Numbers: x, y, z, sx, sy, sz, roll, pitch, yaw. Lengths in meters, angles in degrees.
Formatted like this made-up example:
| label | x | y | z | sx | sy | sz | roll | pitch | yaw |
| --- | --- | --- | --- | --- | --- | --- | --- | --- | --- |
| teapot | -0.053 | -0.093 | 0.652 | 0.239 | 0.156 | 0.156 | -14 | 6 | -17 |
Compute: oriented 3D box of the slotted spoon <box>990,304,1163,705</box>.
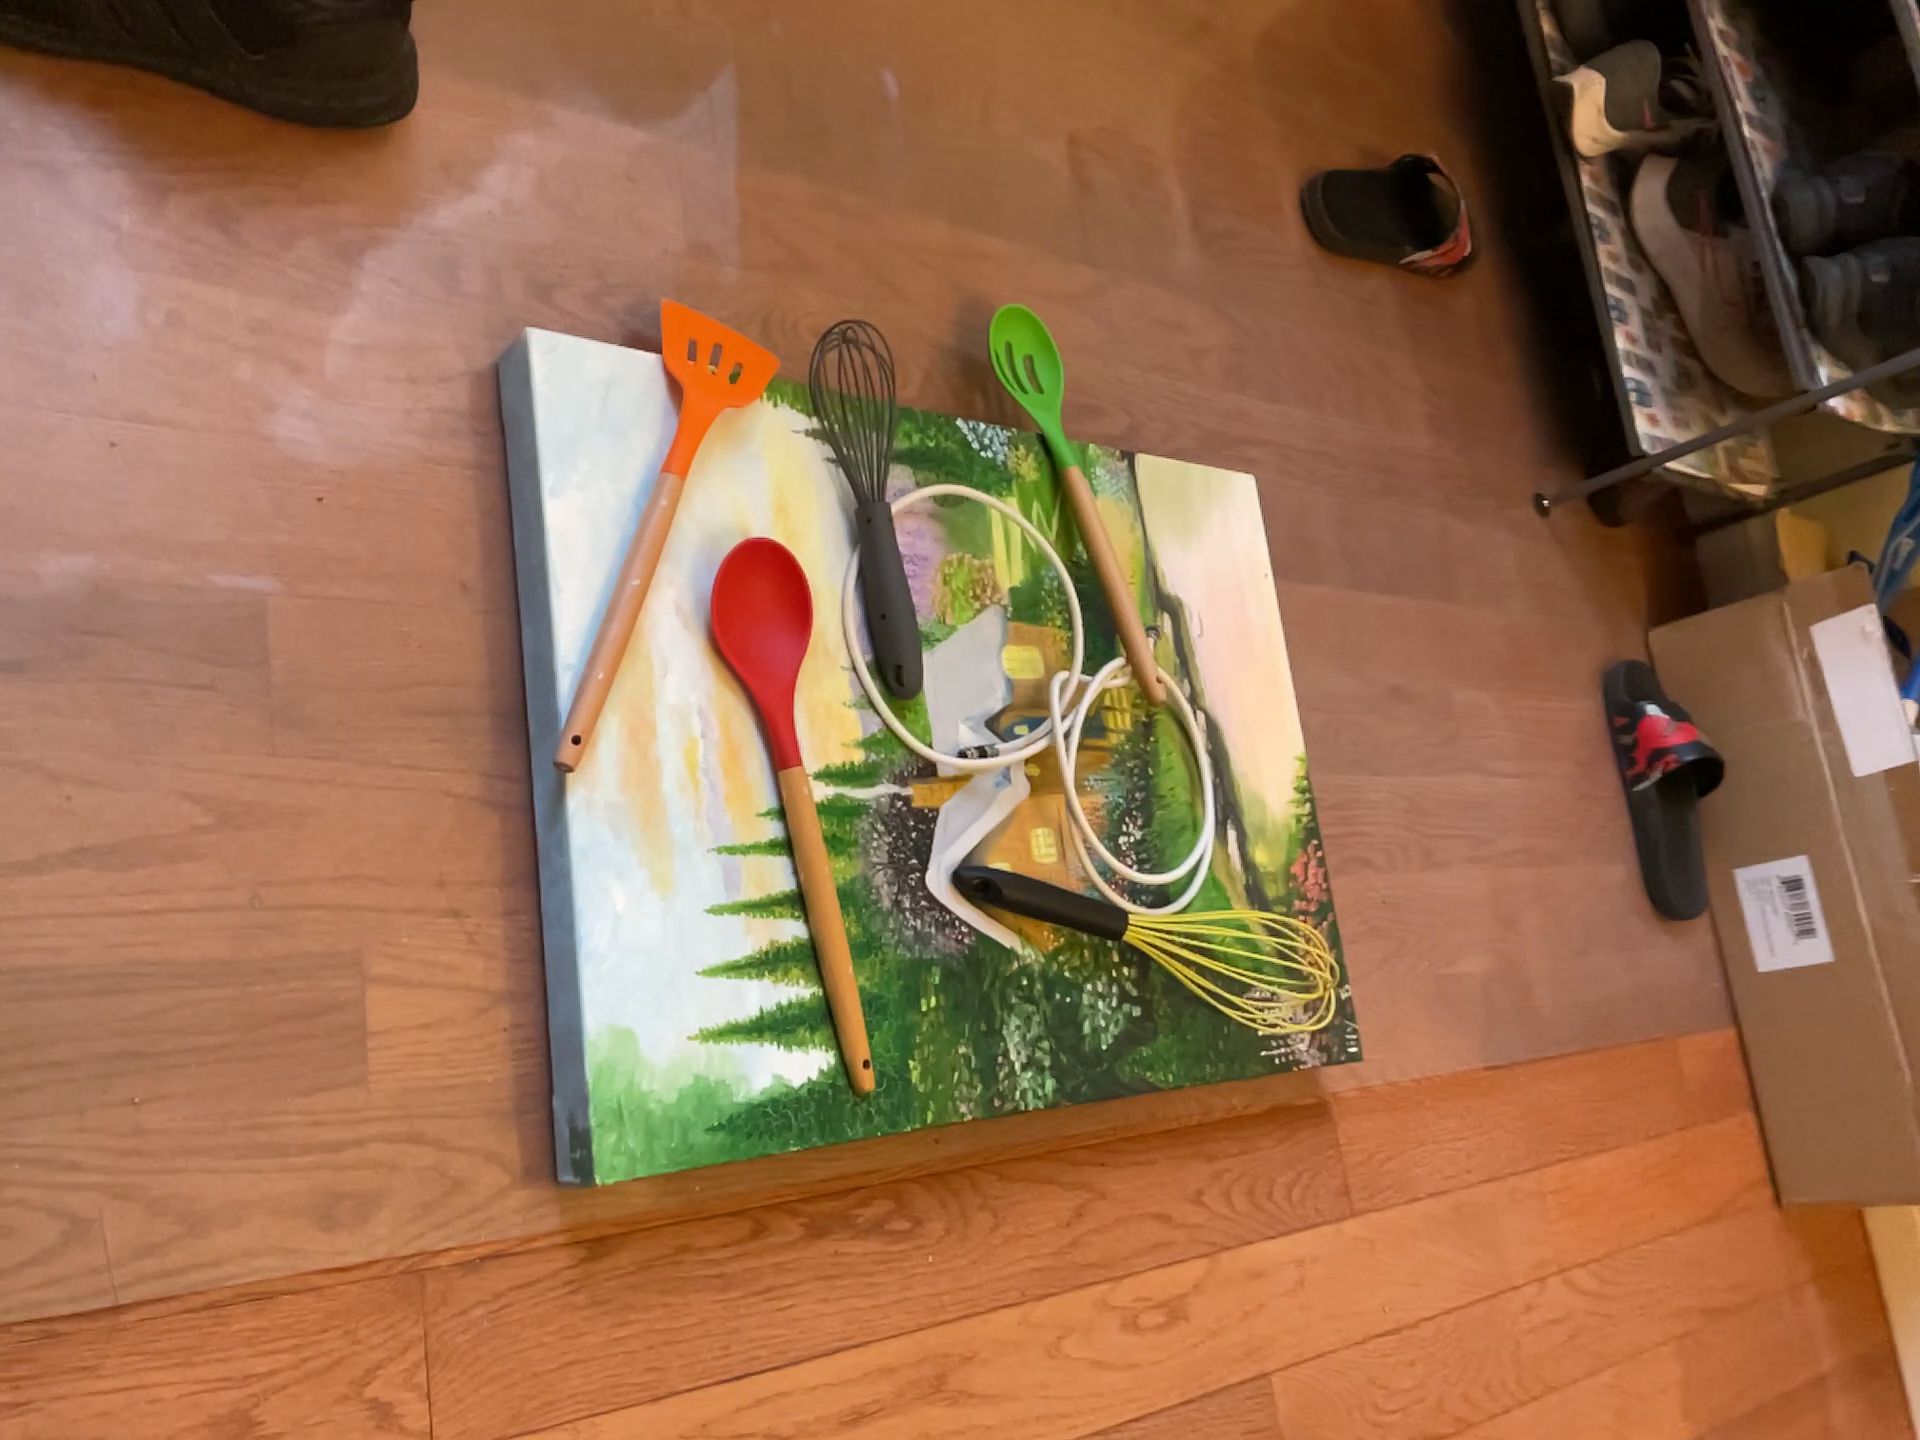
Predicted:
| label | x | y | z | sx | sy | sz | roll | pitch | yaw |
| --- | --- | --- | --- | --- | --- | --- | --- | --- | --- |
| slotted spoon | 0.082 | -0.152 | 1.103 | 0.070 | 0.031 | 0.314 | 0 | 64 | -41 |

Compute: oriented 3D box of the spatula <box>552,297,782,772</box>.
| label | x | y | z | sx | sy | sz | roll | pitch | yaw |
| --- | --- | --- | --- | --- | --- | --- | --- | --- | --- |
| spatula | -0.172 | -0.113 | 0.897 | 0.081 | 0.041 | 0.323 | 25 | 62 | -19 |

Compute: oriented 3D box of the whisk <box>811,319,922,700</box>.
| label | x | y | z | sx | sy | sz | roll | pitch | yaw |
| --- | --- | --- | --- | --- | --- | --- | --- | --- | --- |
| whisk | -0.052 | -0.130 | 0.979 | 0.055 | 0.055 | 0.239 | -9 | 87 | -31 |

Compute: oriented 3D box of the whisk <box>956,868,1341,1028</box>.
| label | x | y | z | sx | sy | sz | roll | pitch | yaw |
| --- | --- | --- | --- | --- | --- | --- | --- | --- | --- |
| whisk | 0.127 | 0.141 | 1.036 | 0.311 | 0.067 | 0.080 | 20 | 58 | -28 |

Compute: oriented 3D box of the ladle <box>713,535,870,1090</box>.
| label | x | y | z | sx | sy | sz | roll | pitch | yaw |
| --- | --- | --- | --- | --- | --- | --- | --- | --- | --- |
| ladle | -0.088 | 0.051 | 0.898 | 0.069 | 0.031 | 0.316 | -8 | 83 | -40 |
